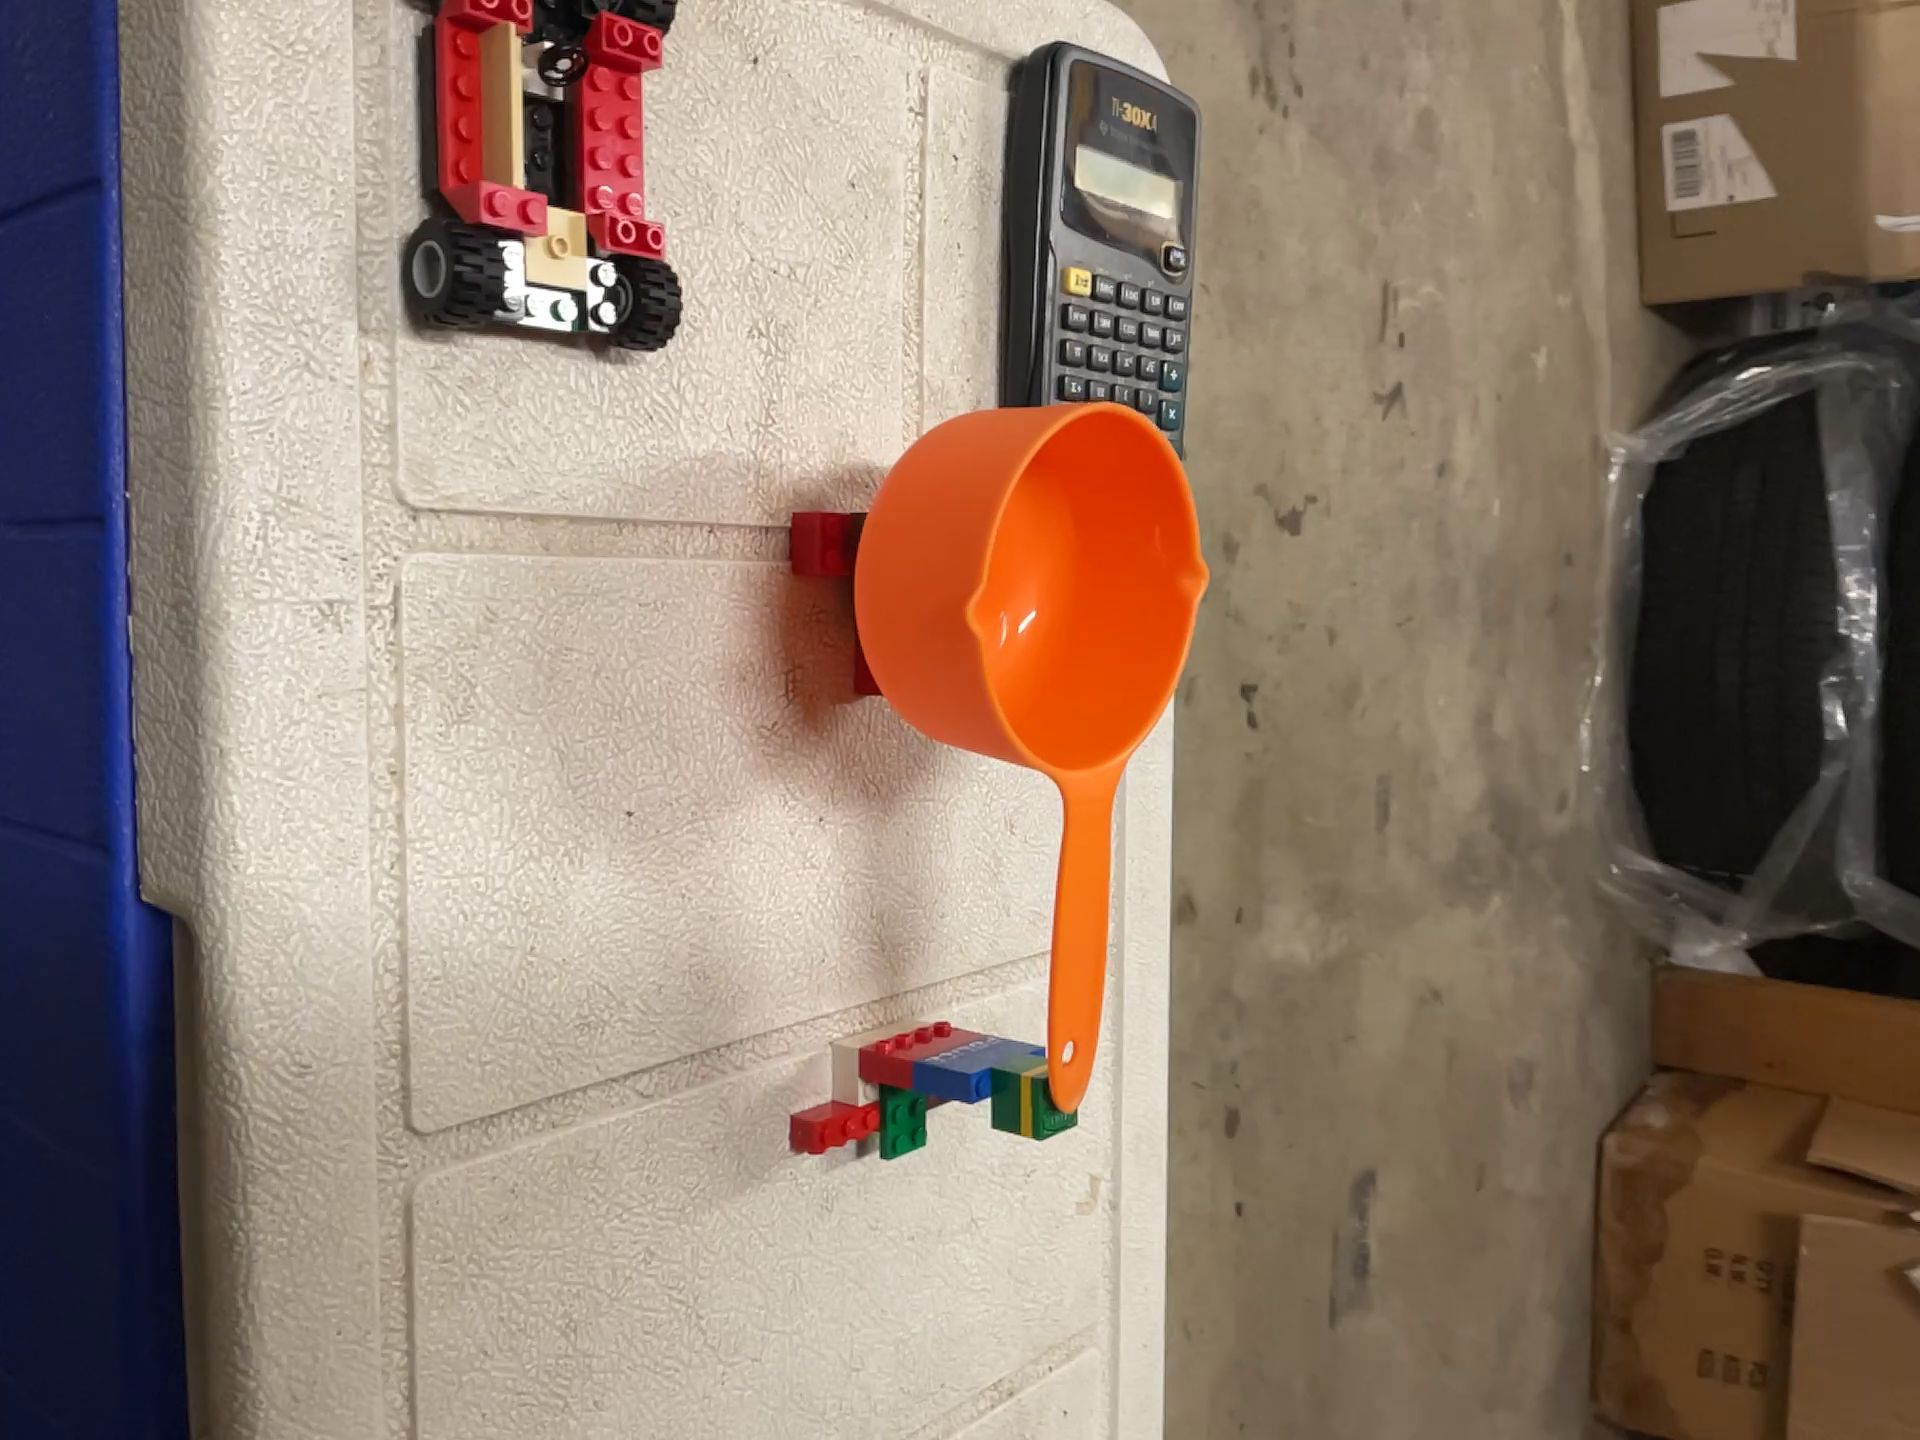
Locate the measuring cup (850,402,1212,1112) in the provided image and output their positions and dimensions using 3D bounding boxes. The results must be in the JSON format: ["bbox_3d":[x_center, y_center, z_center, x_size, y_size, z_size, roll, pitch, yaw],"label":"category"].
[{"bbox_3d":[0.013,0.009,0.394,0.095,0.052,0.173,-13,109,-49],"label":"measuring cup"}]
